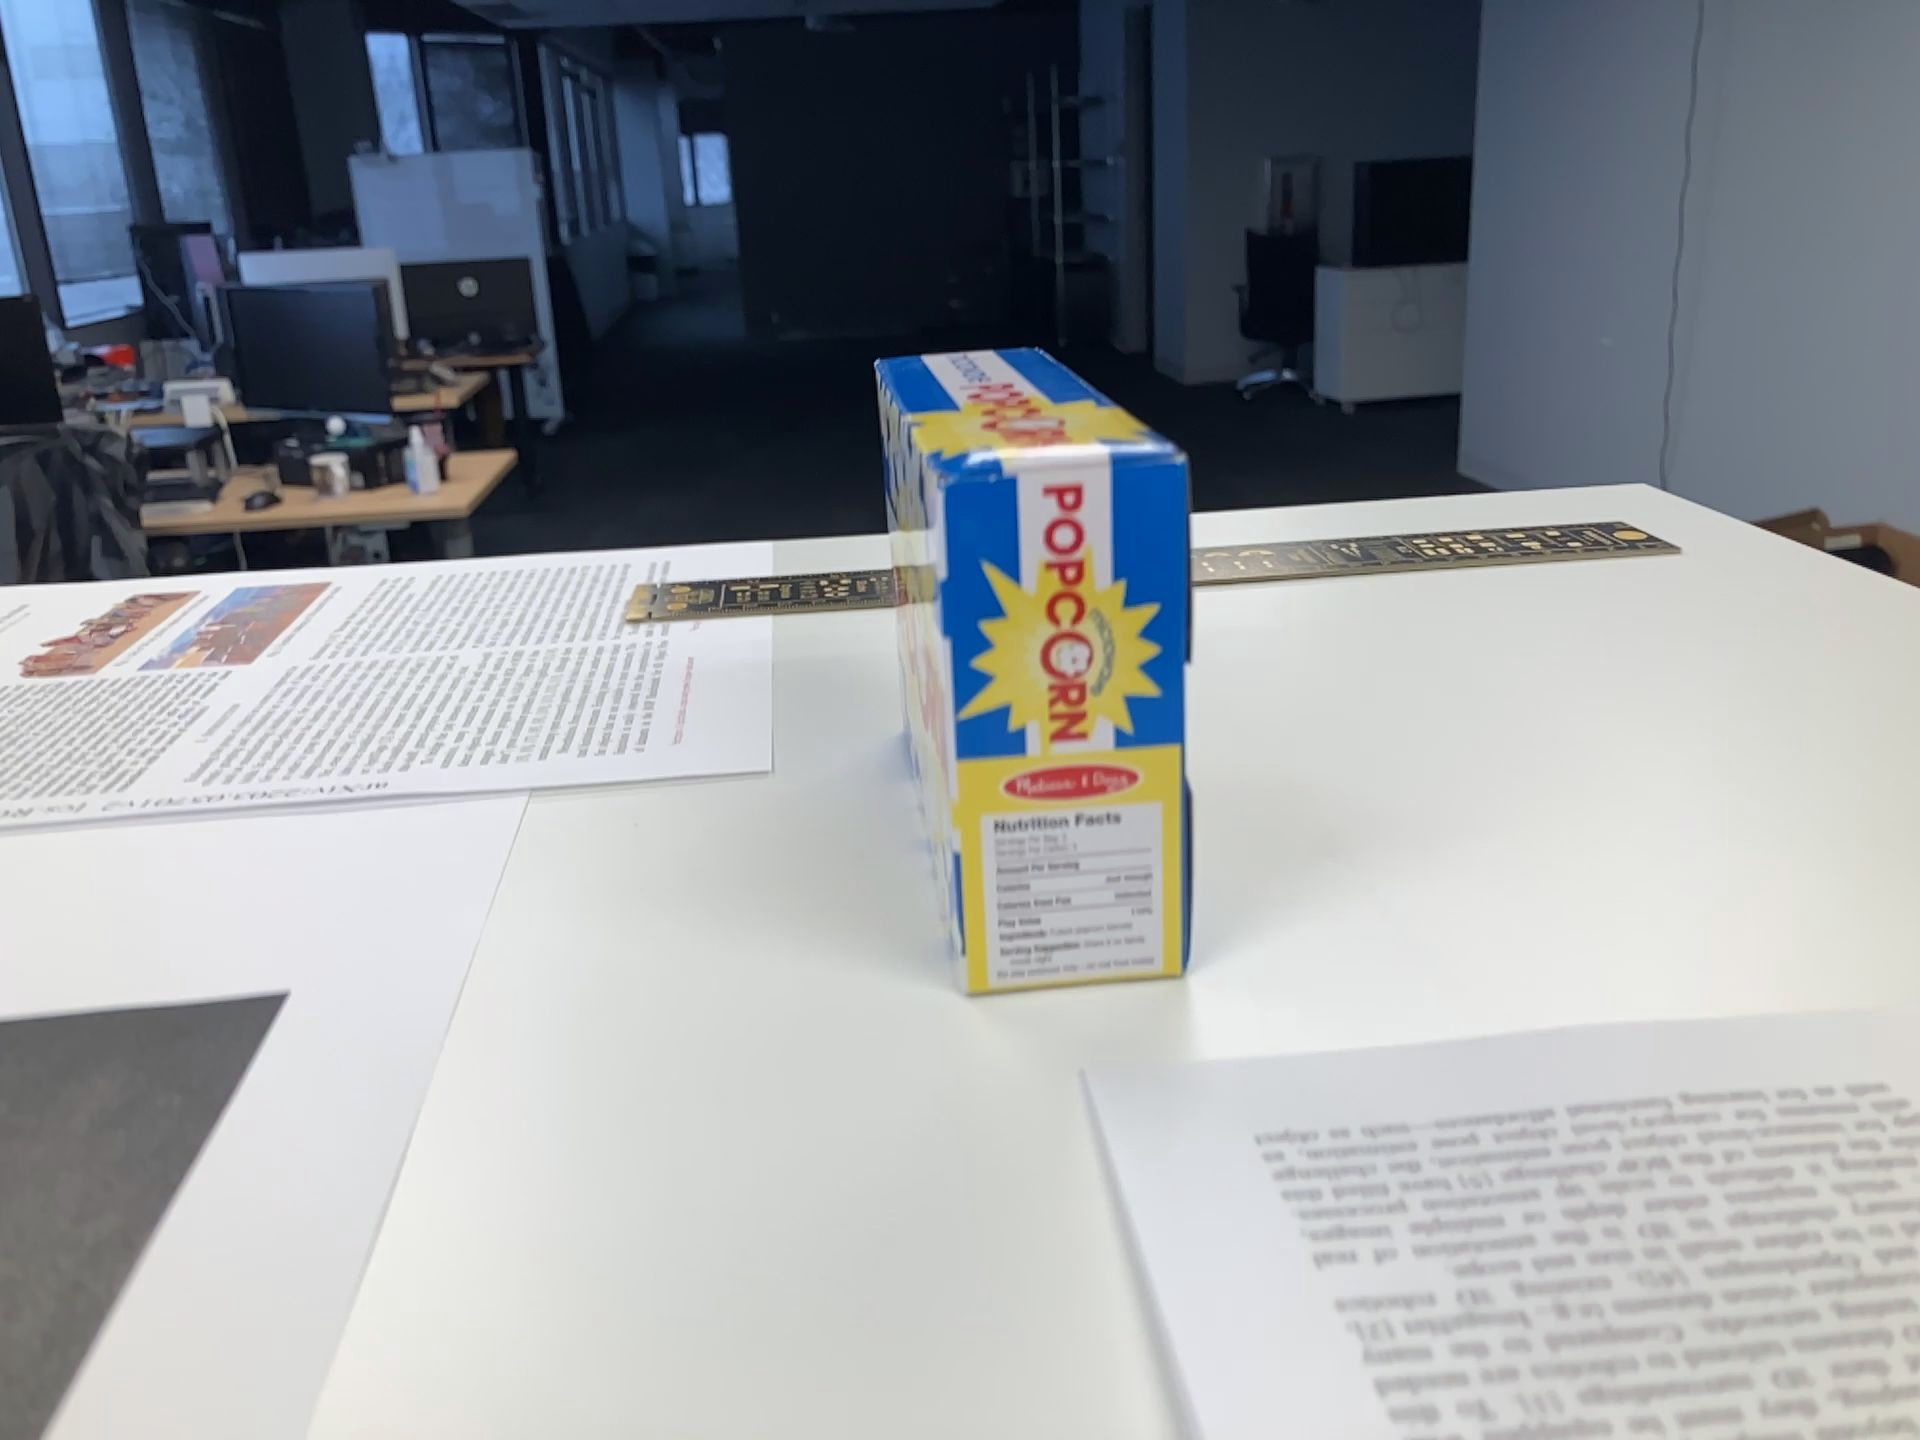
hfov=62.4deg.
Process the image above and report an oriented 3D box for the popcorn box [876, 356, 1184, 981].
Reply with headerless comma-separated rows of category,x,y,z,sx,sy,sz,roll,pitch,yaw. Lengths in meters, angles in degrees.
popcorn box,0.009,-0.018,0.298,0.038,0.085,0.126,-4,19,-5
